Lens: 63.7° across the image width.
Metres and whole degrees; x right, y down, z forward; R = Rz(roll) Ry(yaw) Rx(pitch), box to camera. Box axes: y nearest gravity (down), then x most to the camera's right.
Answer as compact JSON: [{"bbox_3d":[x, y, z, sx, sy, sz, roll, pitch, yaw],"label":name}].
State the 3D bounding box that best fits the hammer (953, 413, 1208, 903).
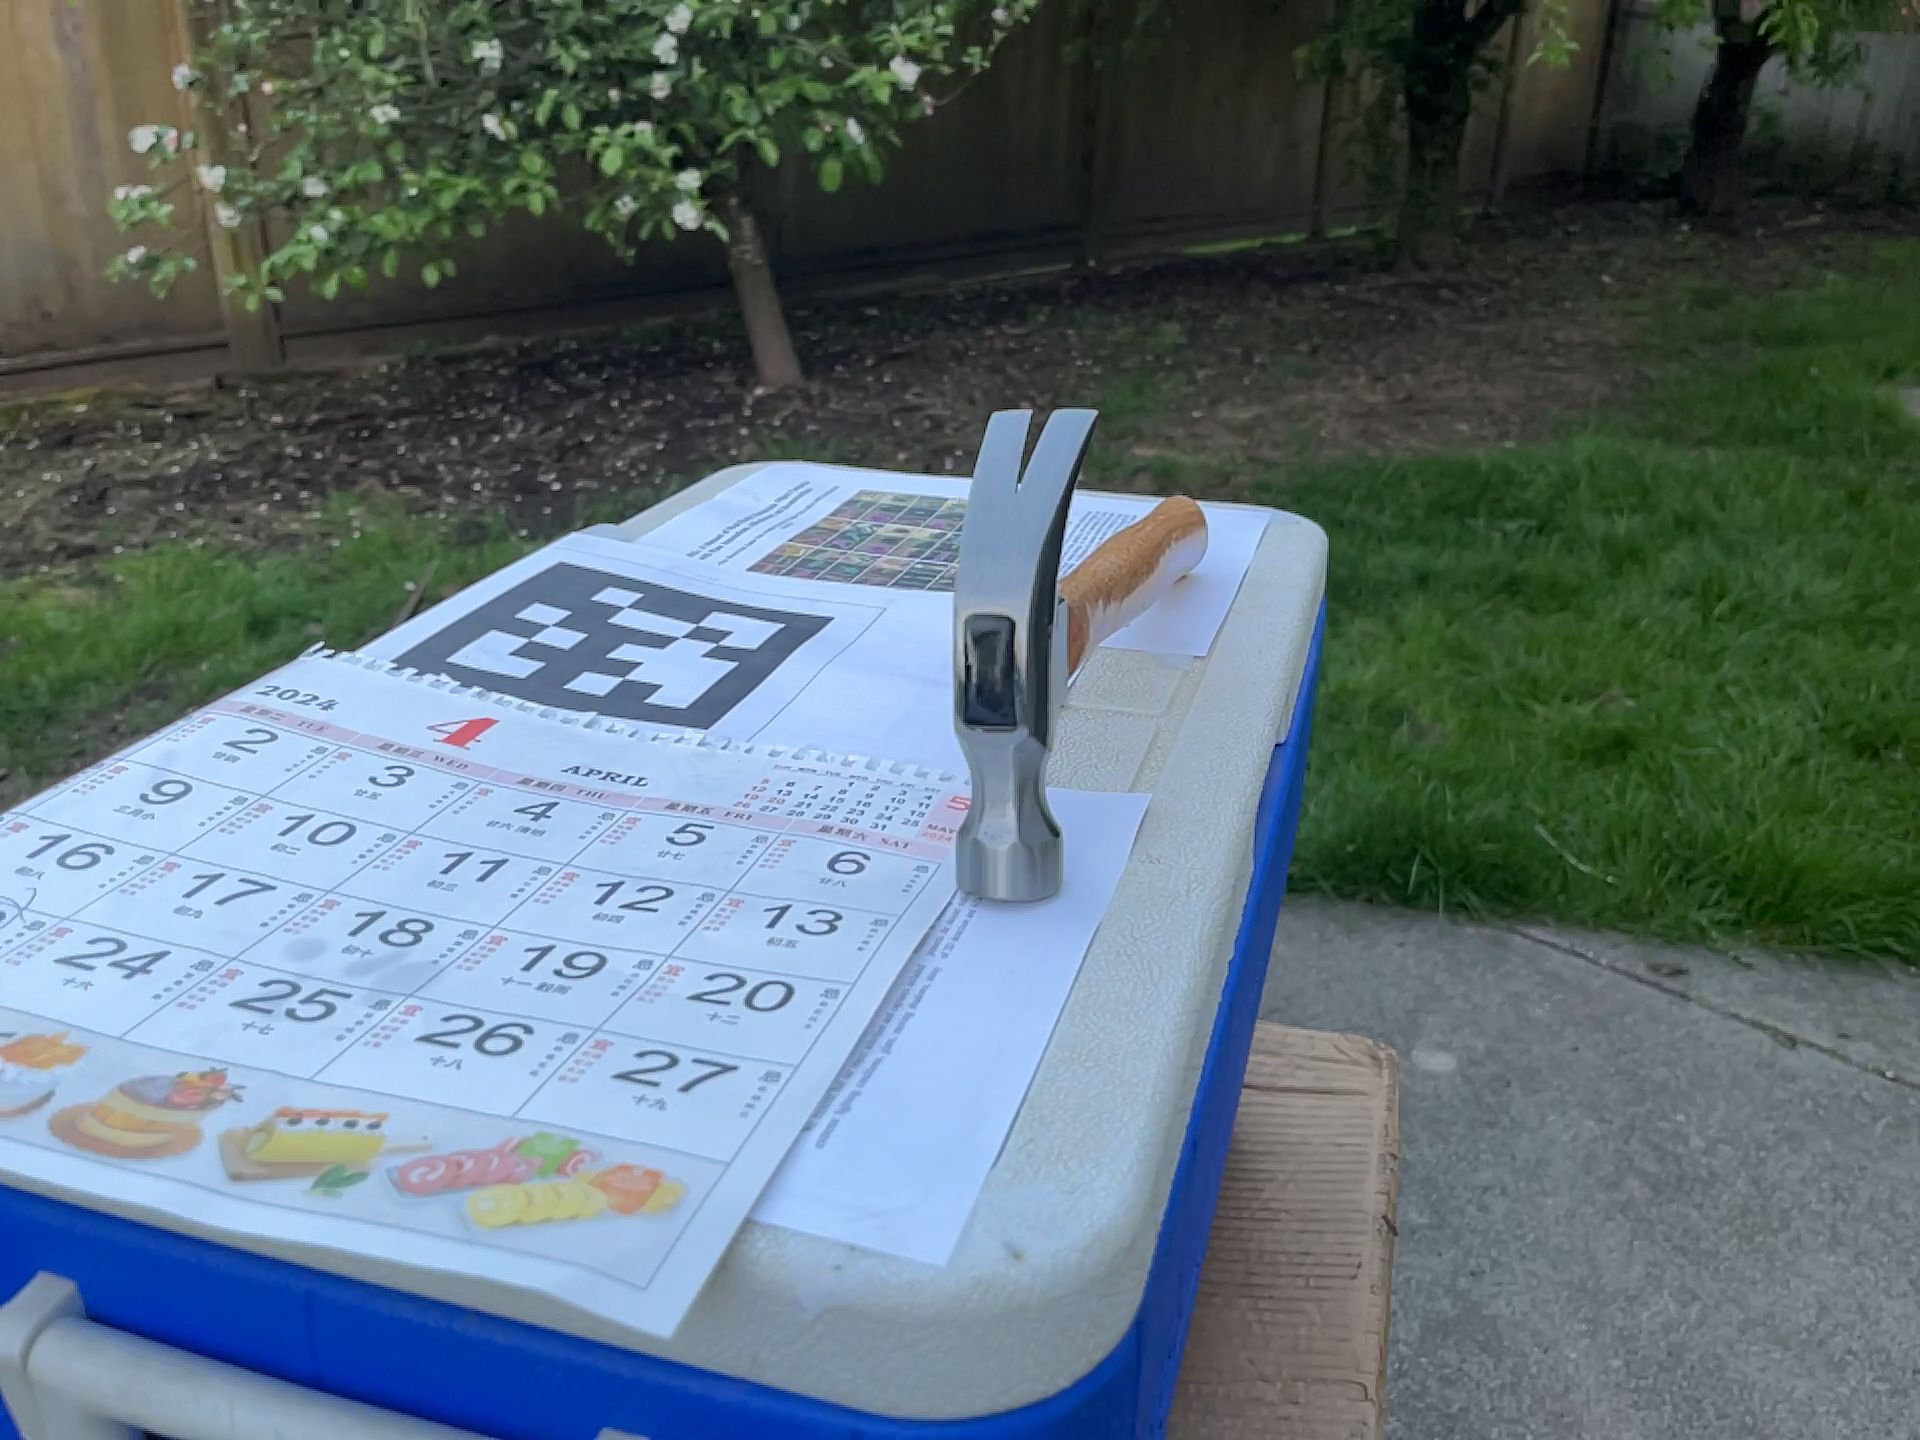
[{"bbox_3d":[0.055,-0.050,0.560,0.031,0.130,0.331,3,14,16],"label":"hammer"}]
